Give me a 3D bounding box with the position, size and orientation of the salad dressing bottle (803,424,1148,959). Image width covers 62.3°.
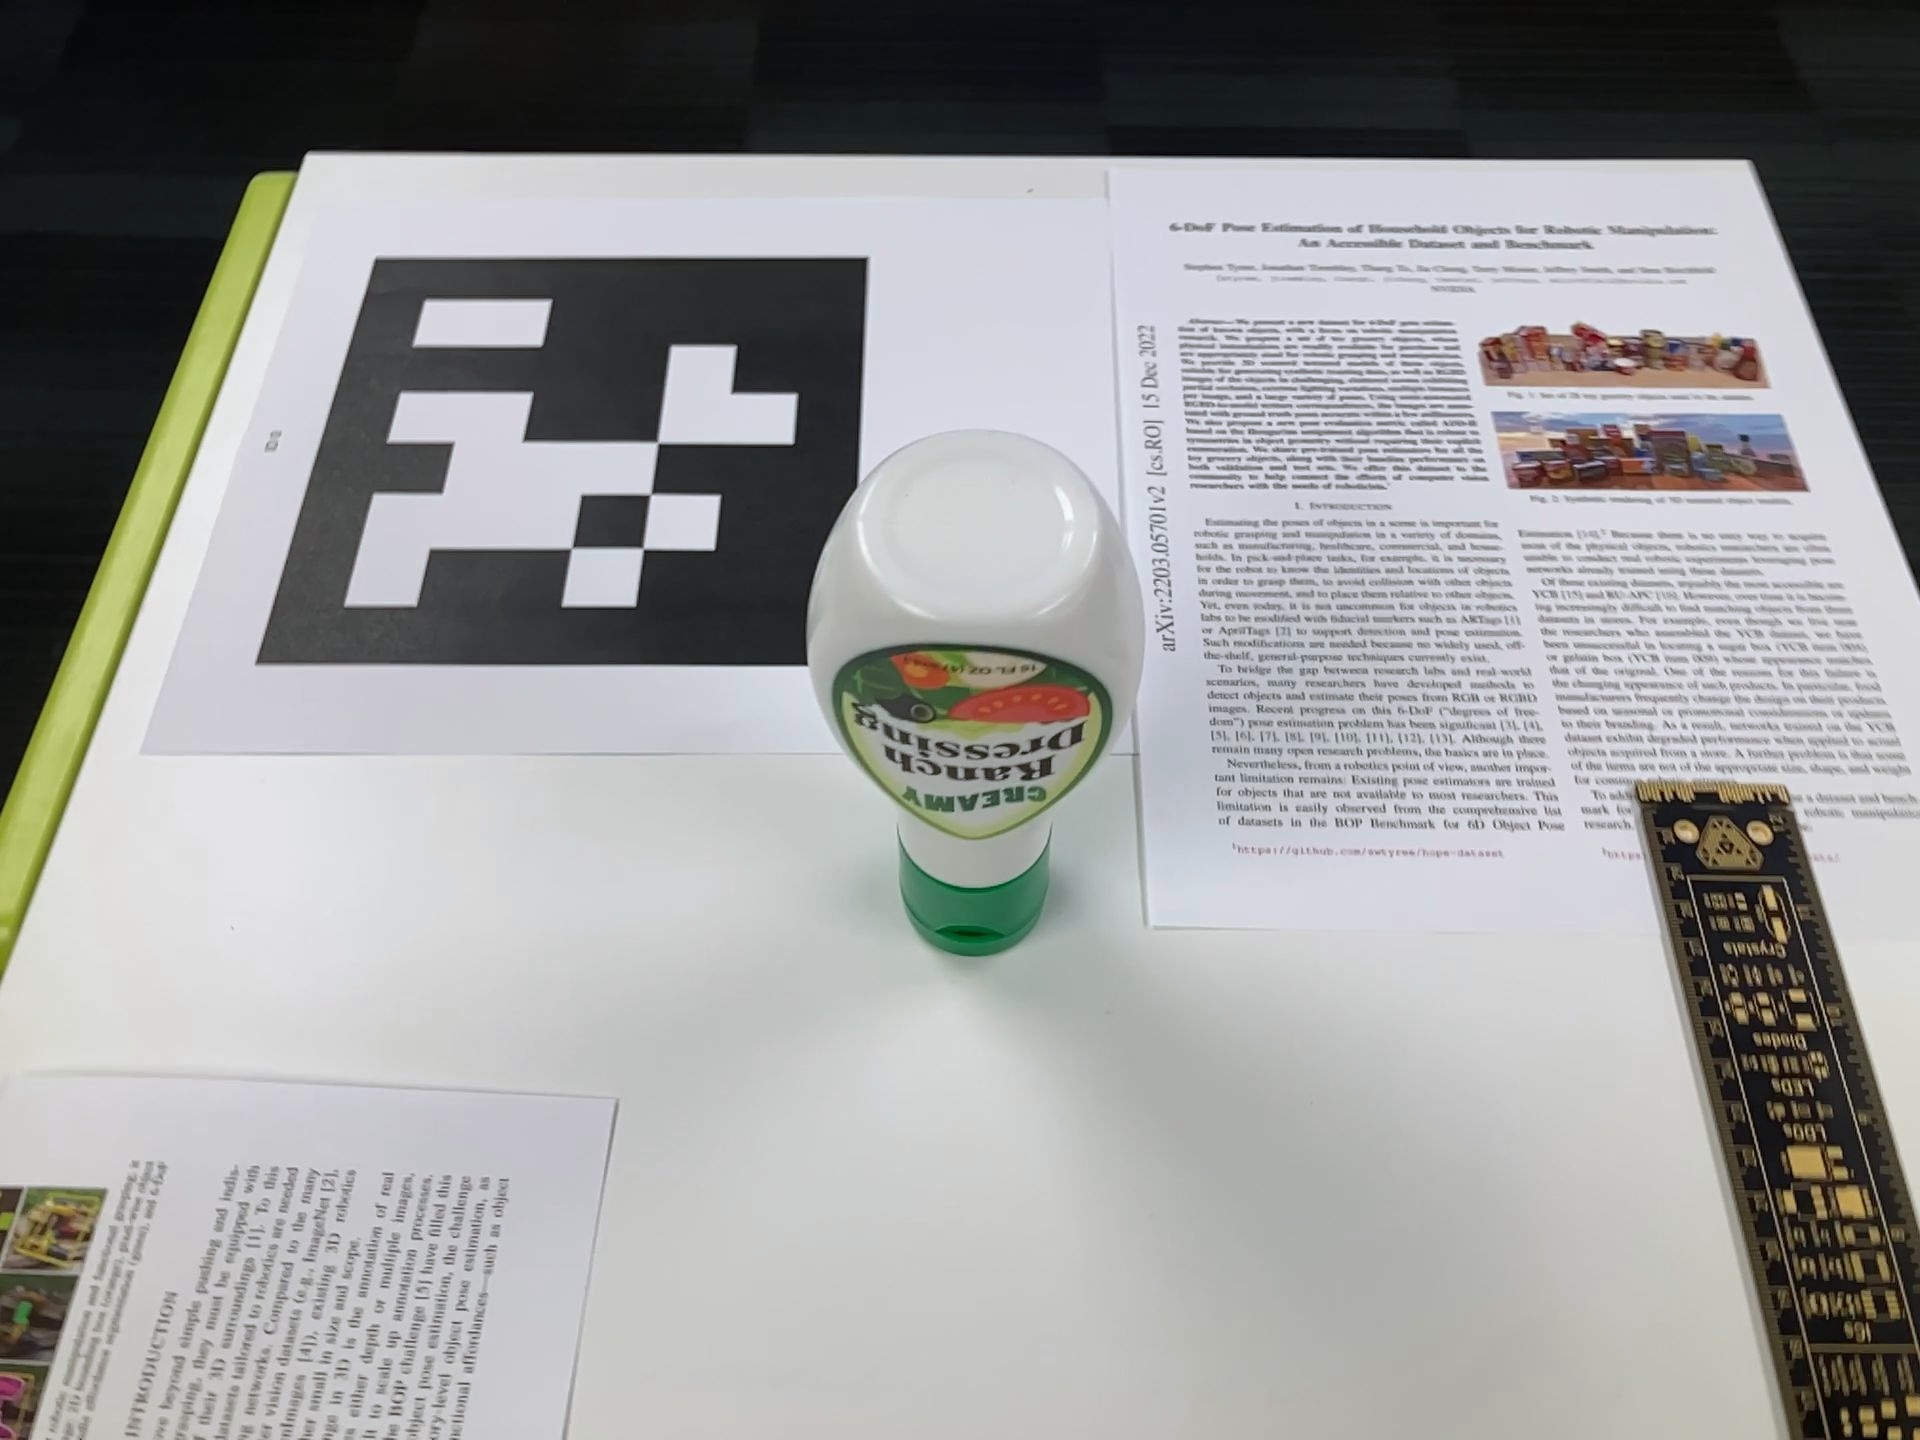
[{"bbox_3d":[0.003,0.004,0.330,0.064,0.147,0.044,2,58,2],"label":"salad dressing bottle"}]
